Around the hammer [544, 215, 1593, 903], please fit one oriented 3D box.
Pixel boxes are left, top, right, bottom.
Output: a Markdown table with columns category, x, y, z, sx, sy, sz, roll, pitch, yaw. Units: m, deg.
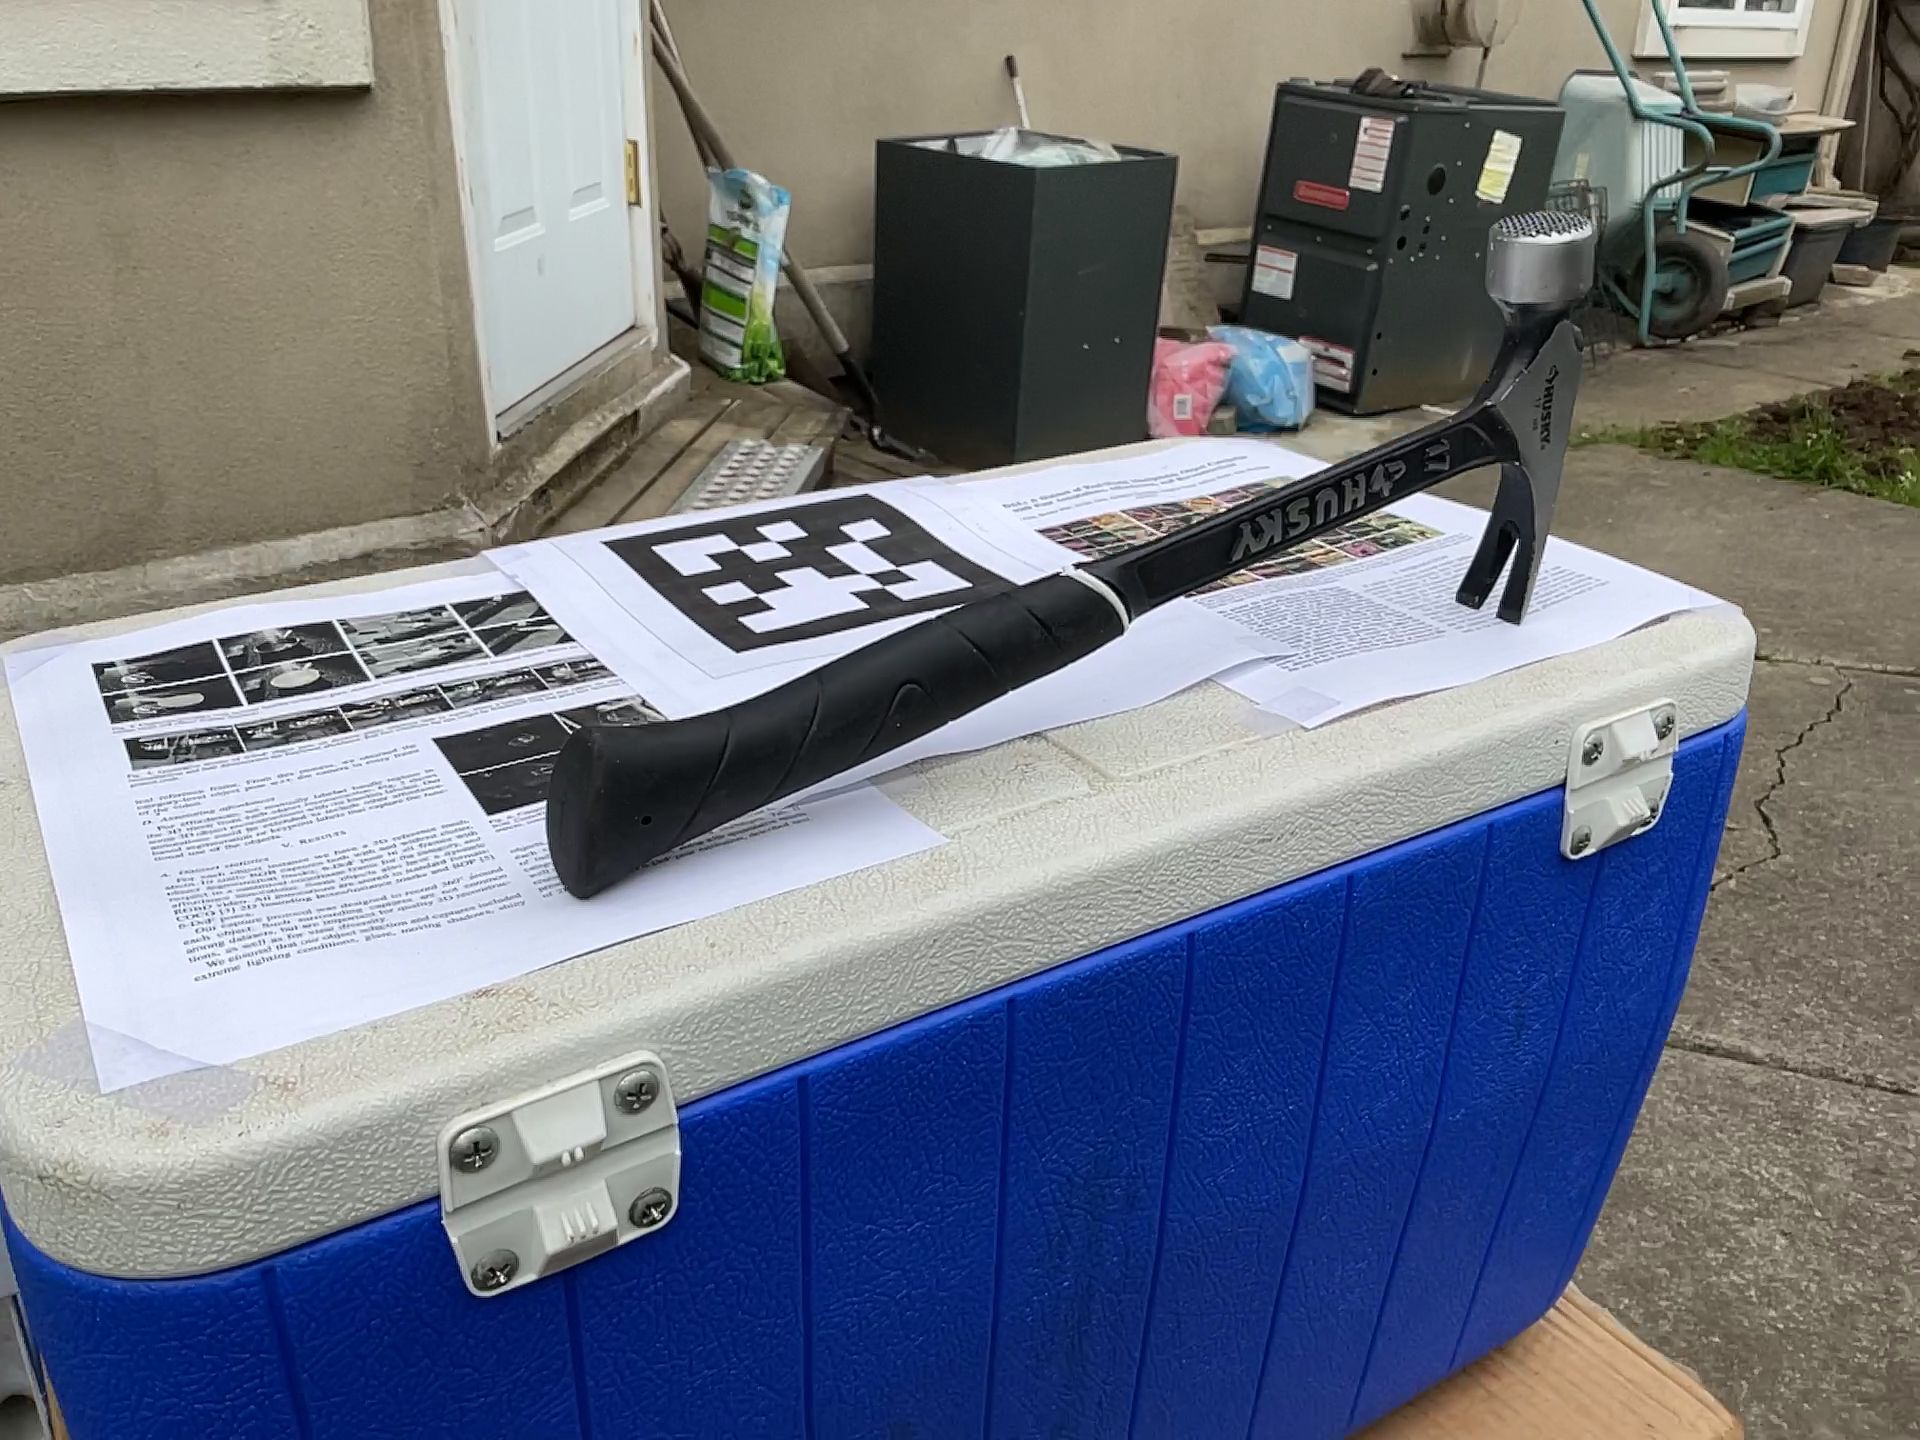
| category | x | y | z | sx | sy | sz | roll | pitch | yaw |
| --- | --- | --- | --- | --- | --- | --- | --- | --- | --- |
| hammer | 0.058 | -0.040 | 0.515 | 0.409 | 0.149 | 0.036 | -25 | 34 | -26 |
